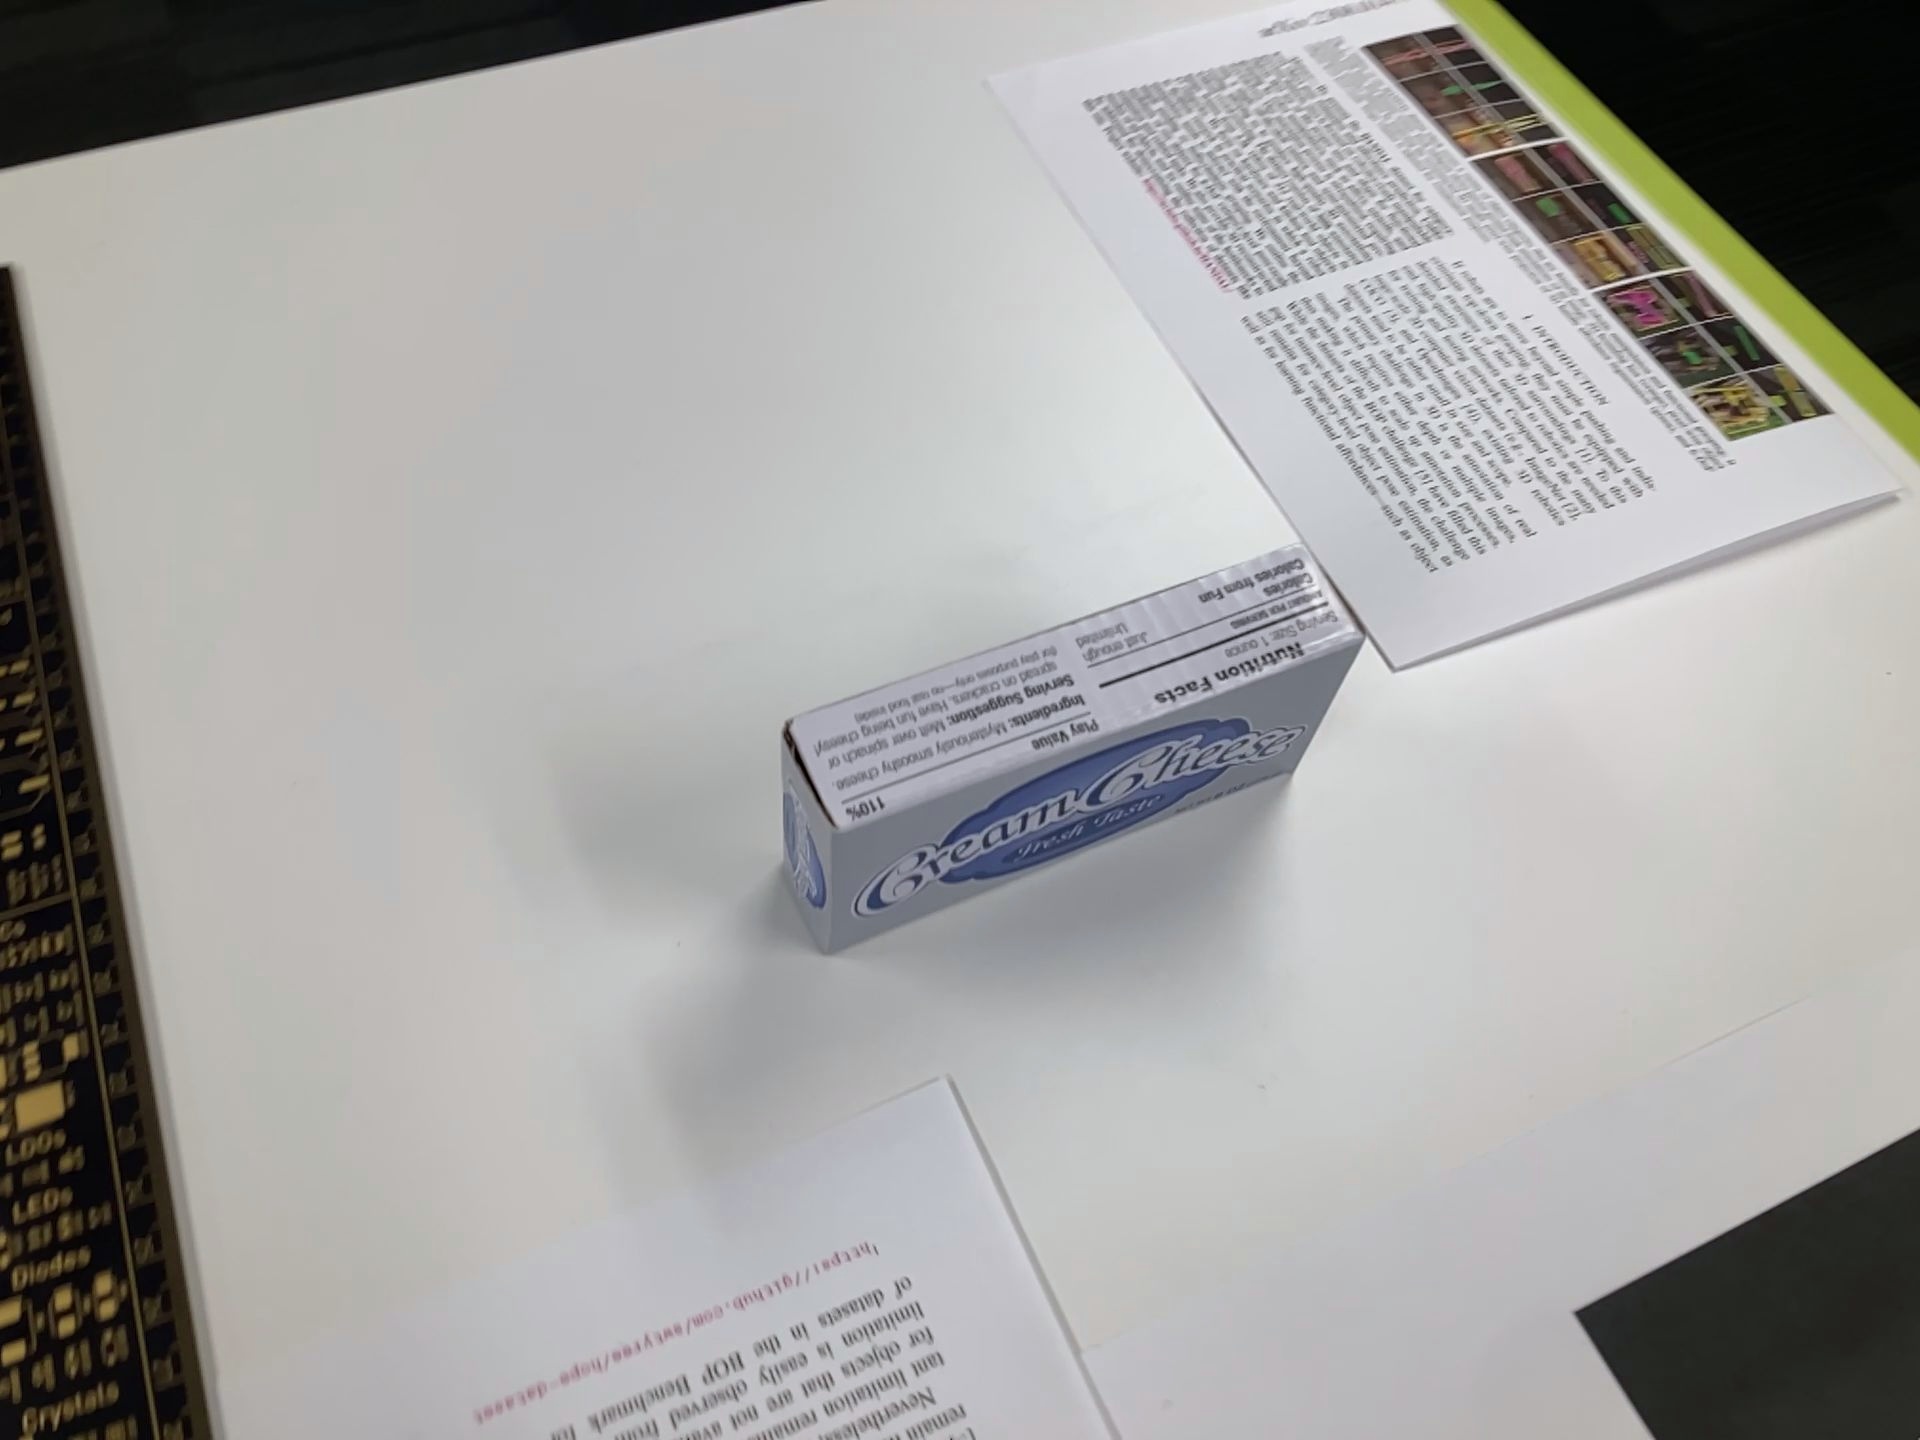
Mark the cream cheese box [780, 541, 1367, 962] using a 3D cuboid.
[{"bbox_3d":[0.019,0.006,0.289,0.104,0.053,0.024,-20,62,-16],"label":"cream cheese box"}]
